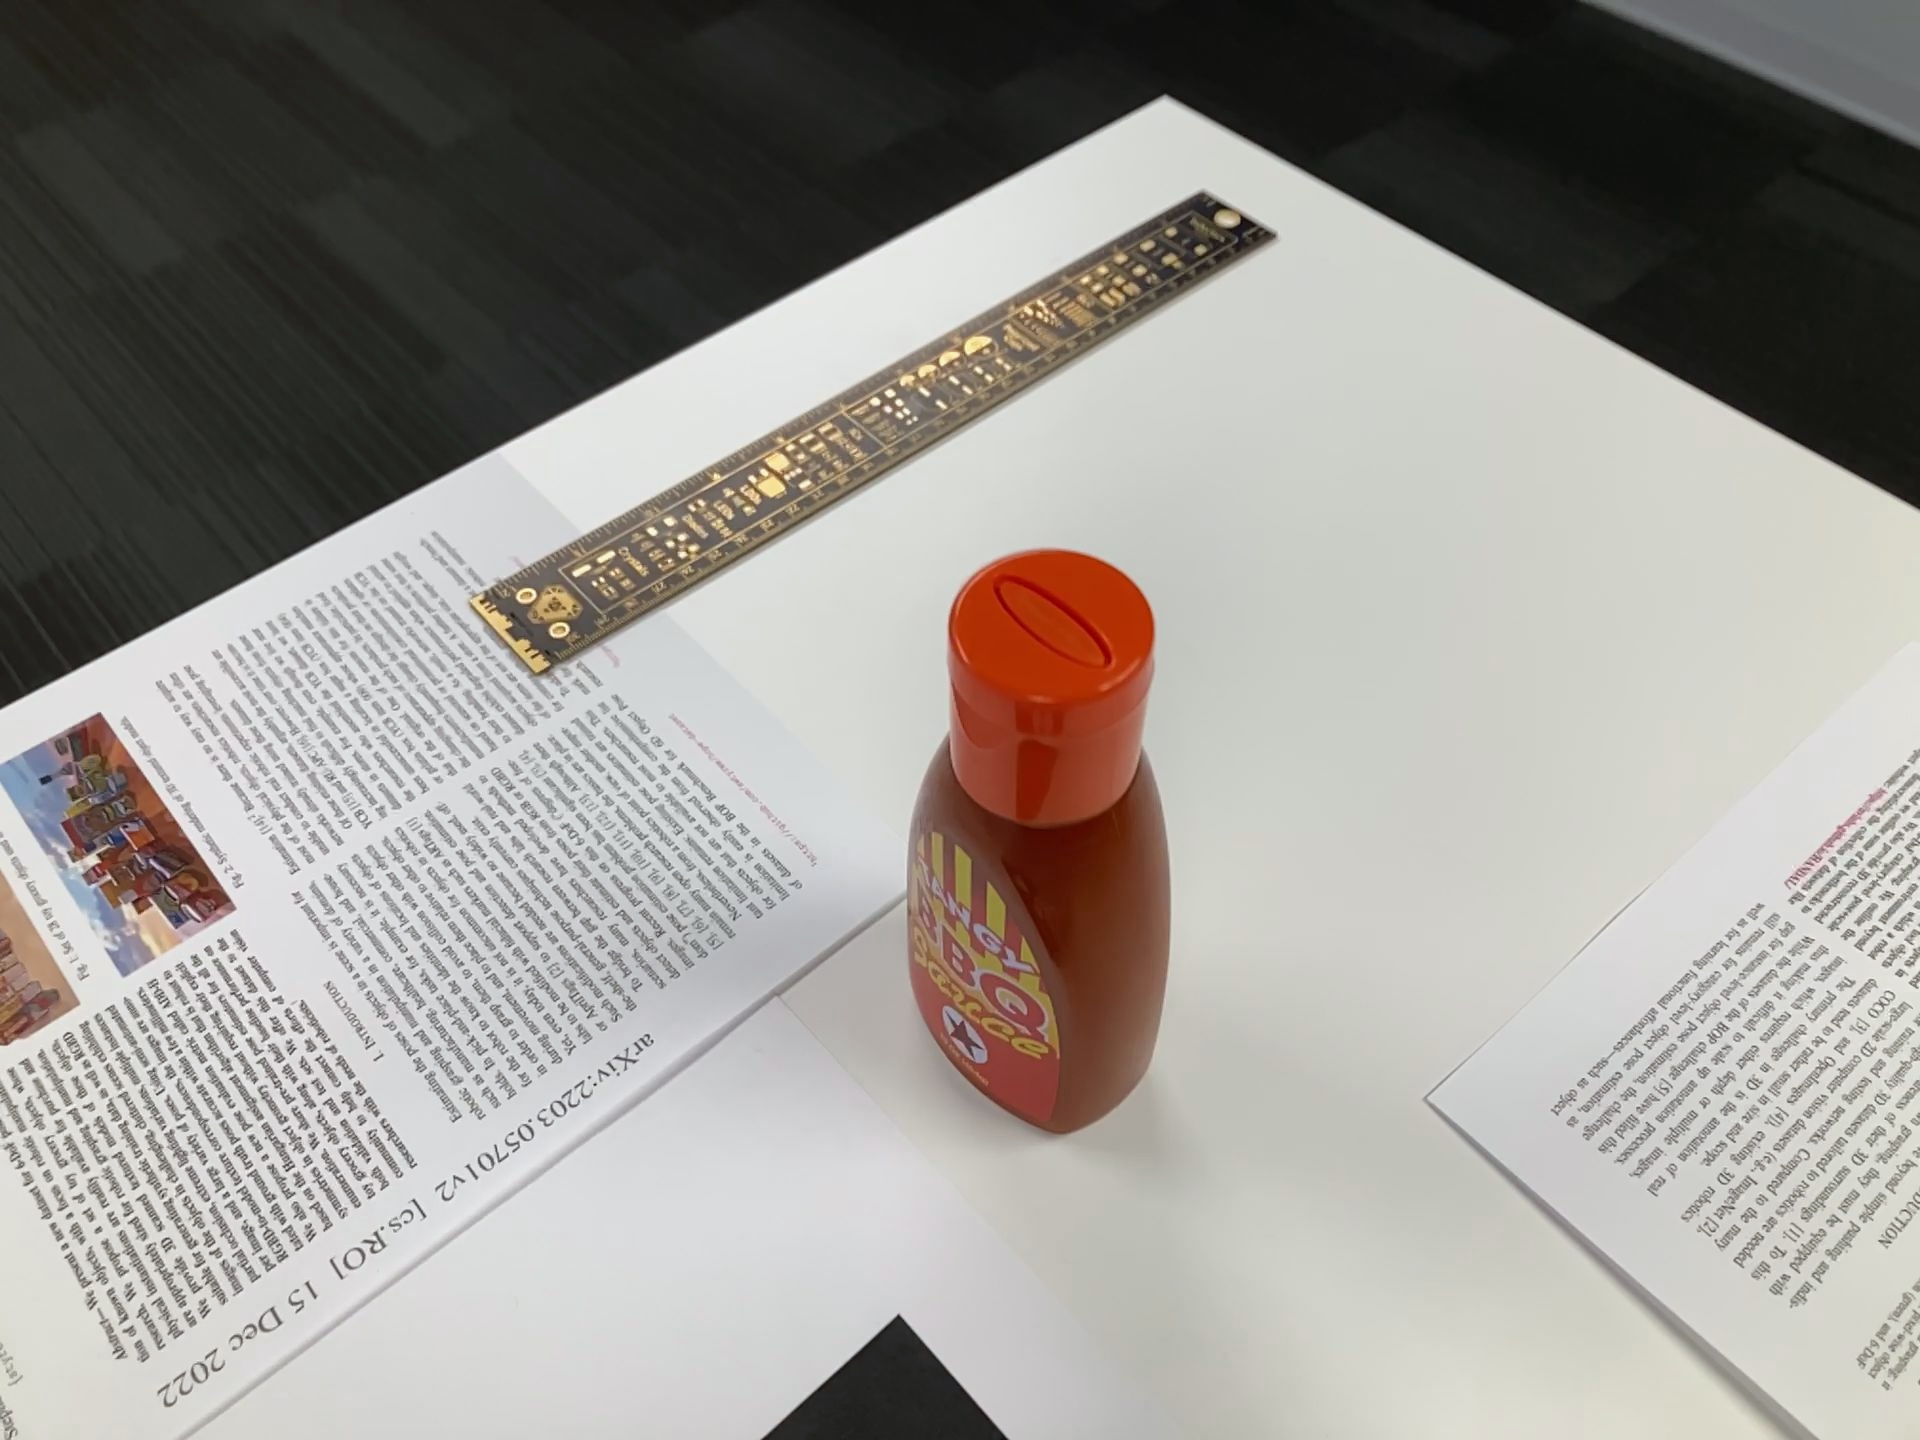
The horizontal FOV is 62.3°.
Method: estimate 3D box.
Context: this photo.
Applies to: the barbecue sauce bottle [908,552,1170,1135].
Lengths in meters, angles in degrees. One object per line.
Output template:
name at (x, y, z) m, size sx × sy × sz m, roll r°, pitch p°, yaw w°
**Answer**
barbecue sauce bottle at (0.016, 0.029, 0.331) m, size 0.043 × 0.148 × 0.065 m, roll -33°, pitch 59°, yaw -24°
